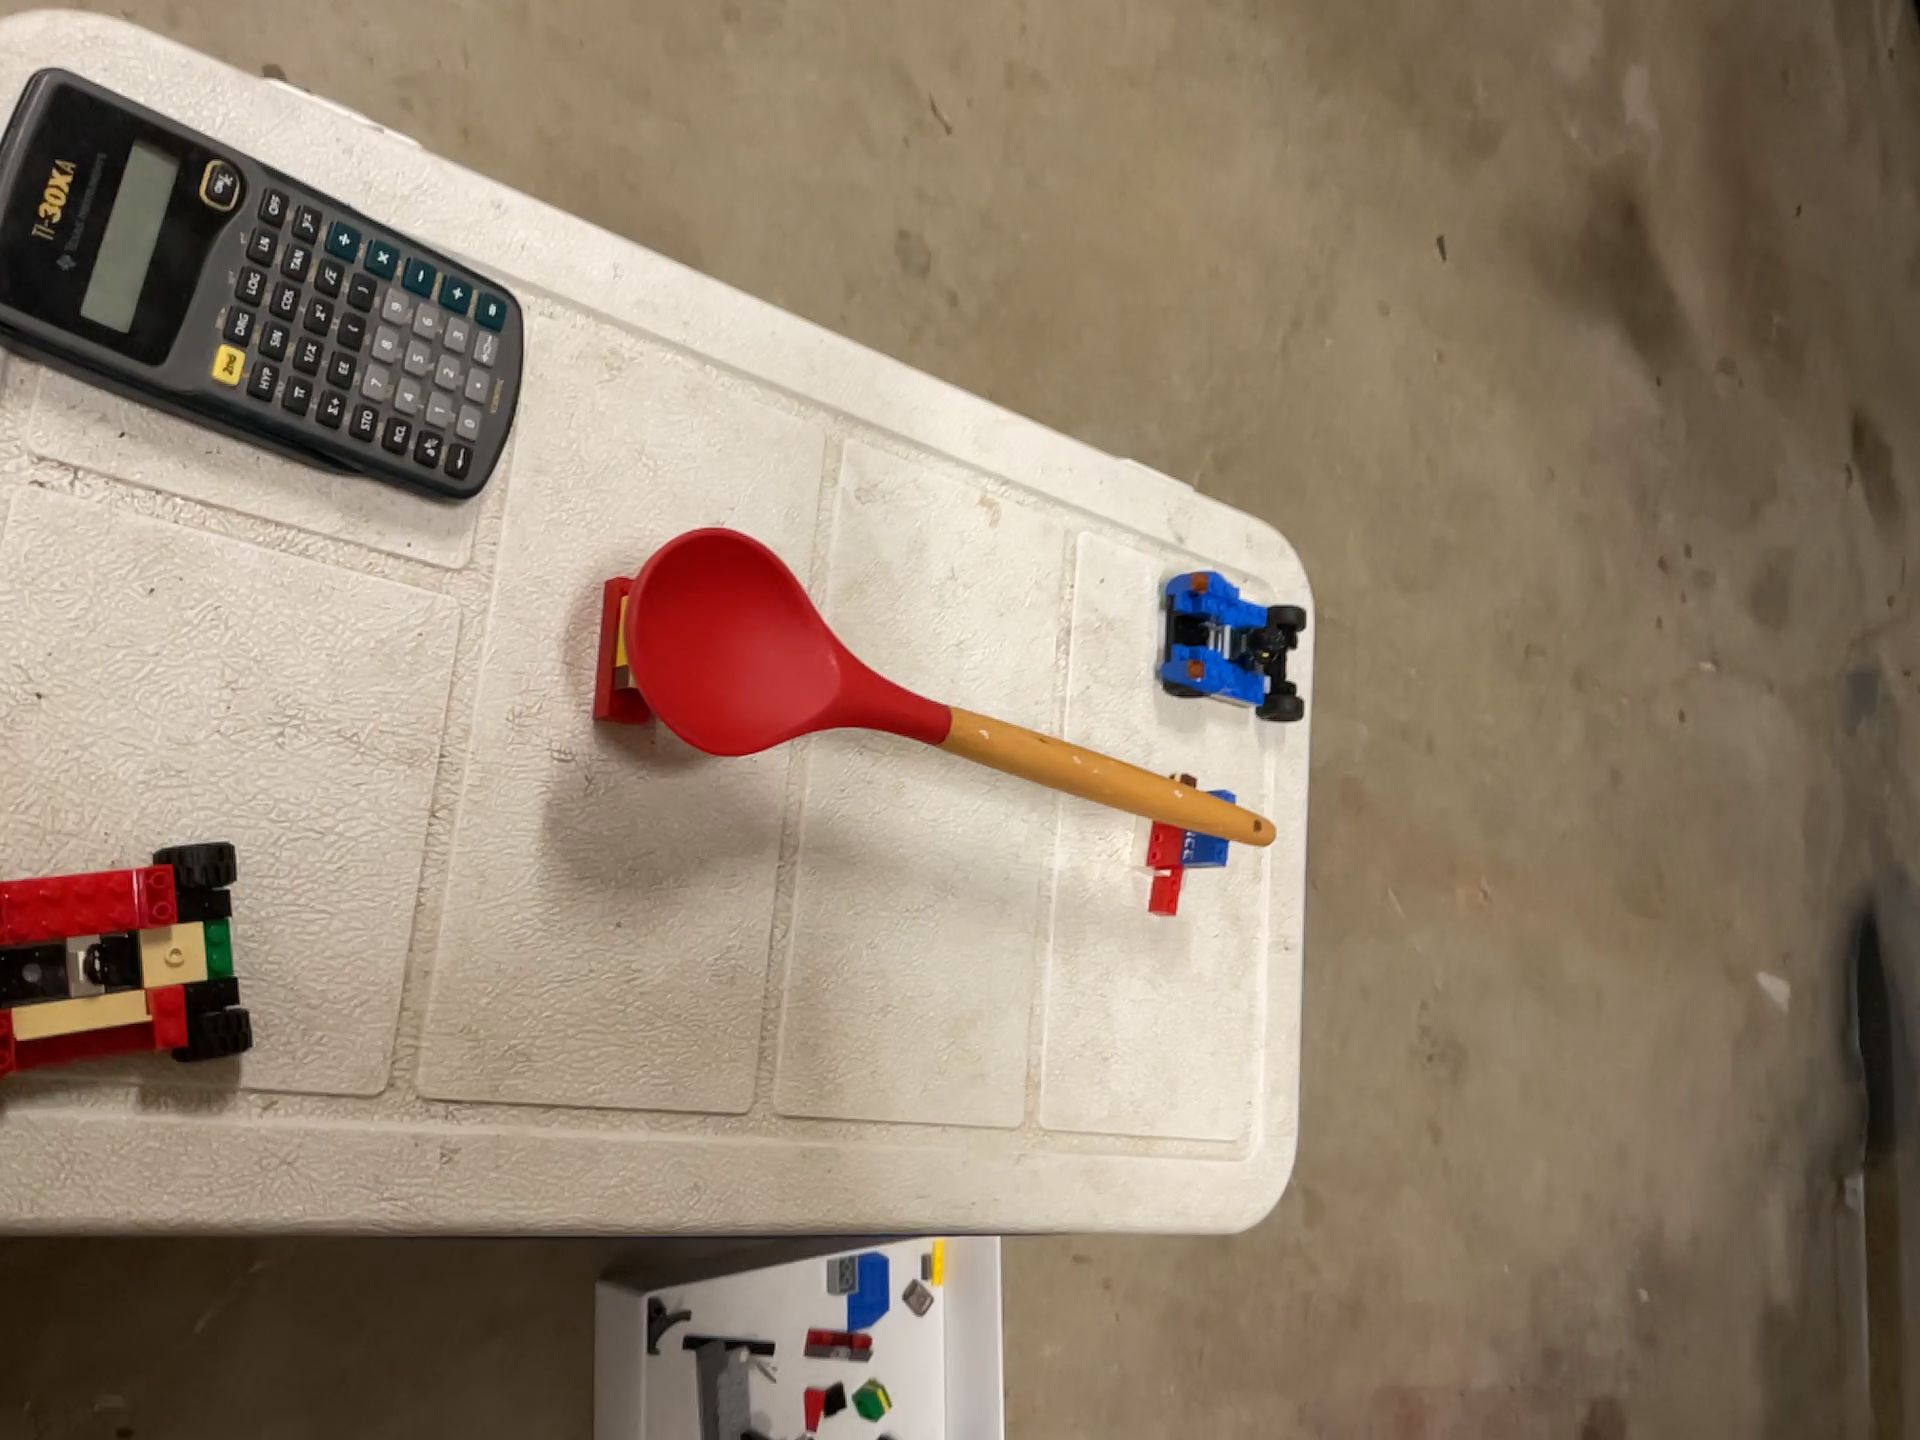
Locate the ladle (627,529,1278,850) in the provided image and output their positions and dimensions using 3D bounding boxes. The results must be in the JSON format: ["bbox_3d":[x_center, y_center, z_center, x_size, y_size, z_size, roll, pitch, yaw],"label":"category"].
[{"bbox_3d":[0.013,0.007,0.572,0.315,0.031,0.069,20,76,-38],"label":"ladle"}]
